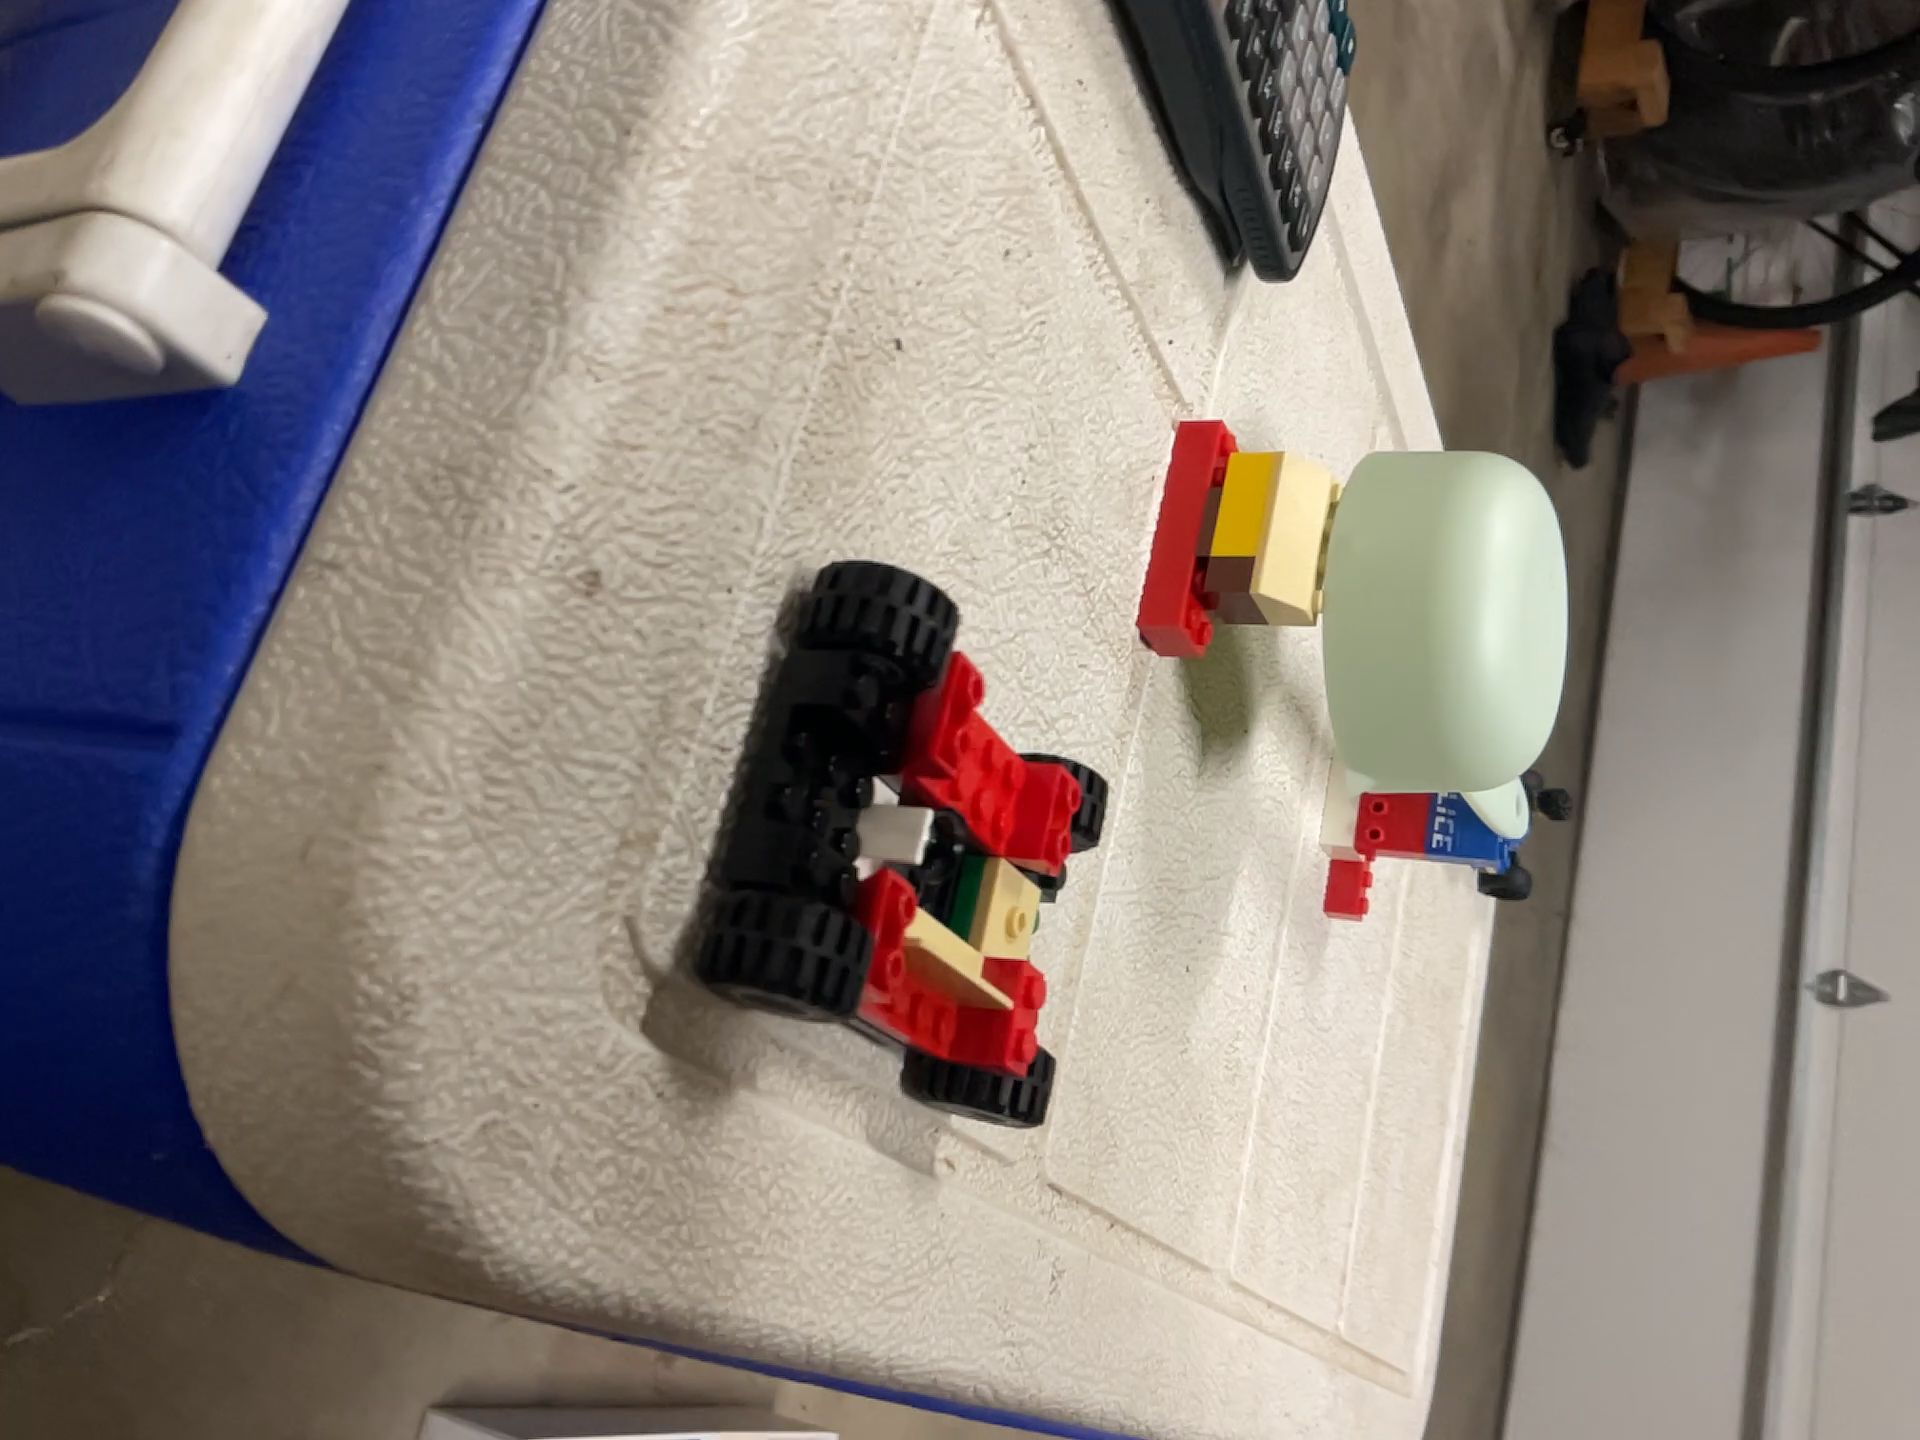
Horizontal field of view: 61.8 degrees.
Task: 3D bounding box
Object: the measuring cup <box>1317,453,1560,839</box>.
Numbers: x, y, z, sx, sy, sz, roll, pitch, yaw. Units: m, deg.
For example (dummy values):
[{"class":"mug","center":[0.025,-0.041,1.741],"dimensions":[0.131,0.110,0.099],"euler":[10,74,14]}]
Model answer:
[{"class":"measuring cup","center":[0.130,-0.004,0.388],"dimensions":[0.168,0.038,0.083],"euler":[38,59,-51]}]
